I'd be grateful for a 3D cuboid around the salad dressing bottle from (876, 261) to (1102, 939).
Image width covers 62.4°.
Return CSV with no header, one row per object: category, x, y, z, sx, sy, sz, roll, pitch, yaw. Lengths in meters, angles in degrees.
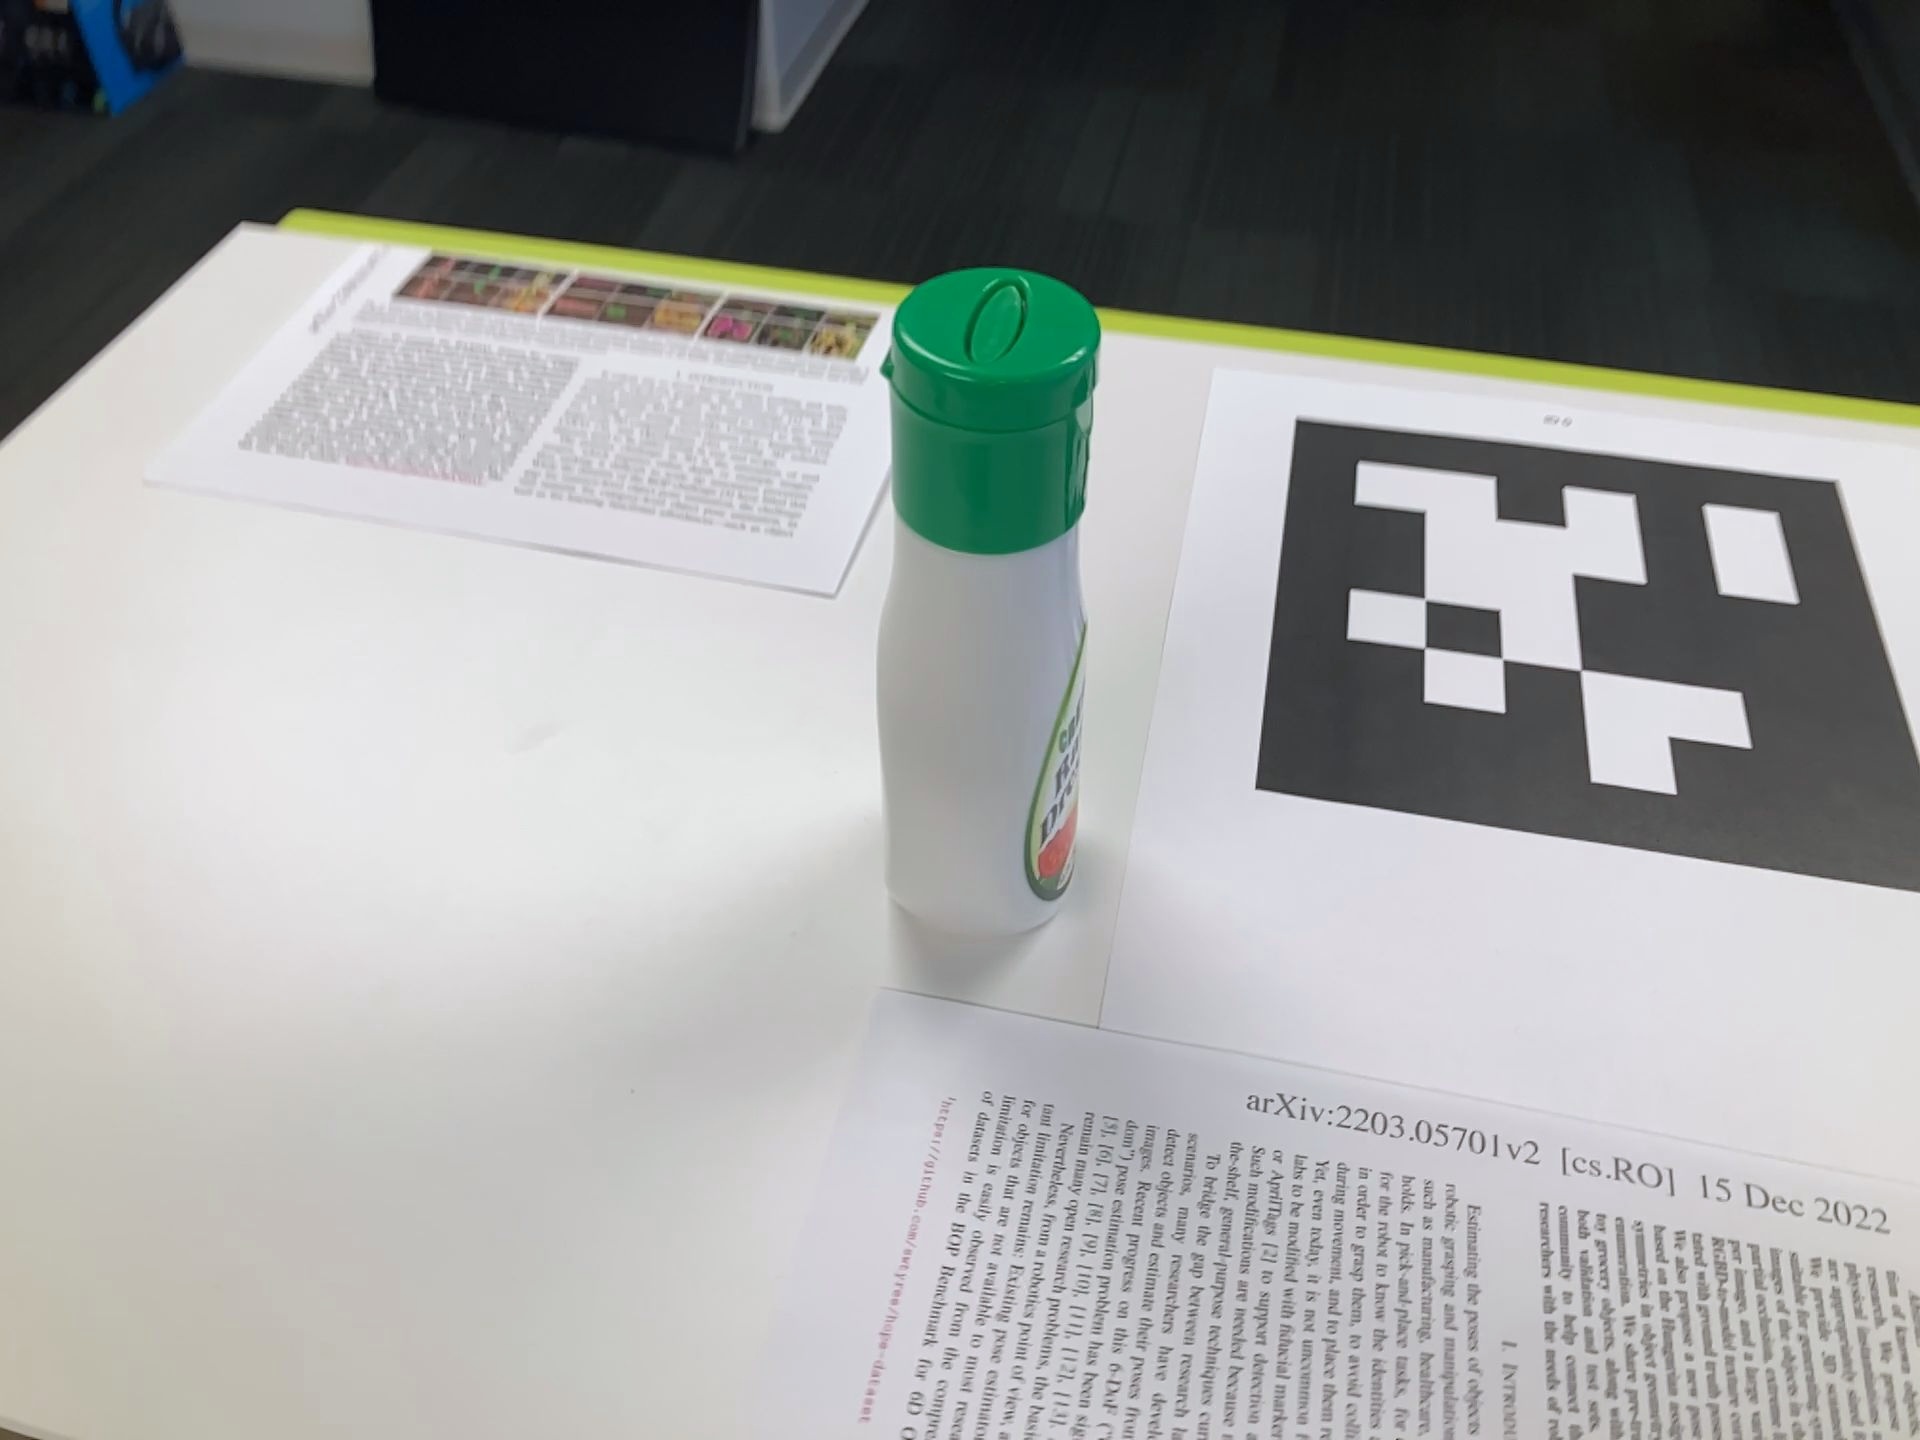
salad dressing bottle,0.006,-0.017,0.320,0.044,0.147,0.064,9,46,9
